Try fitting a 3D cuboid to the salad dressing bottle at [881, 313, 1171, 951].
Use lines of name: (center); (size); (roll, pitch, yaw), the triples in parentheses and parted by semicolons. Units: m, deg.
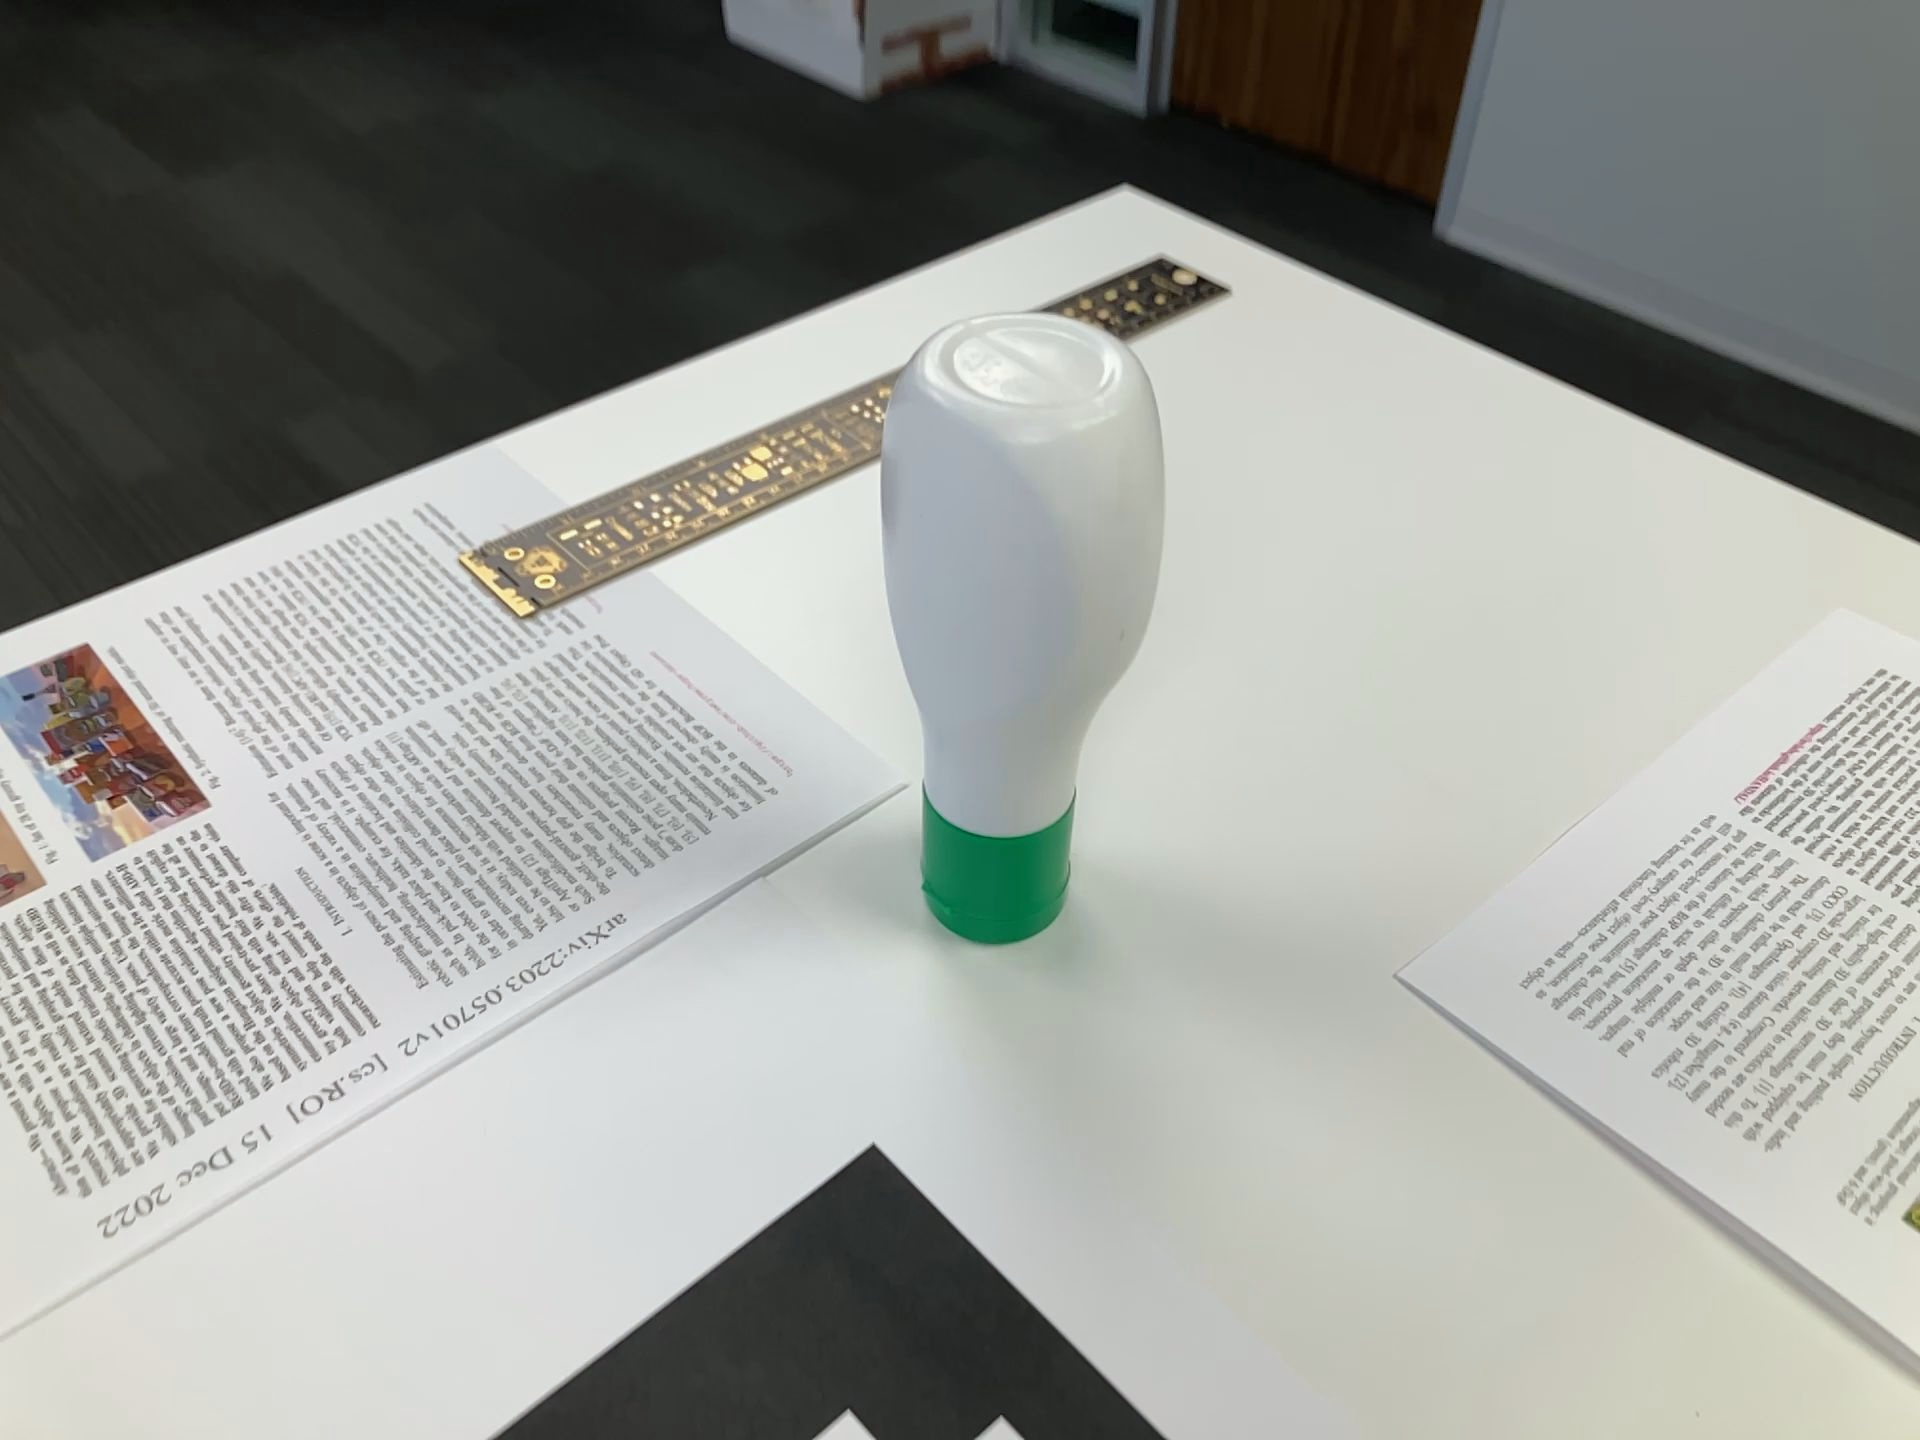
salad dressing bottle: (0.011, -0.011, 0.342); (0.044, 0.147, 0.064); (-28, 50, -30)
